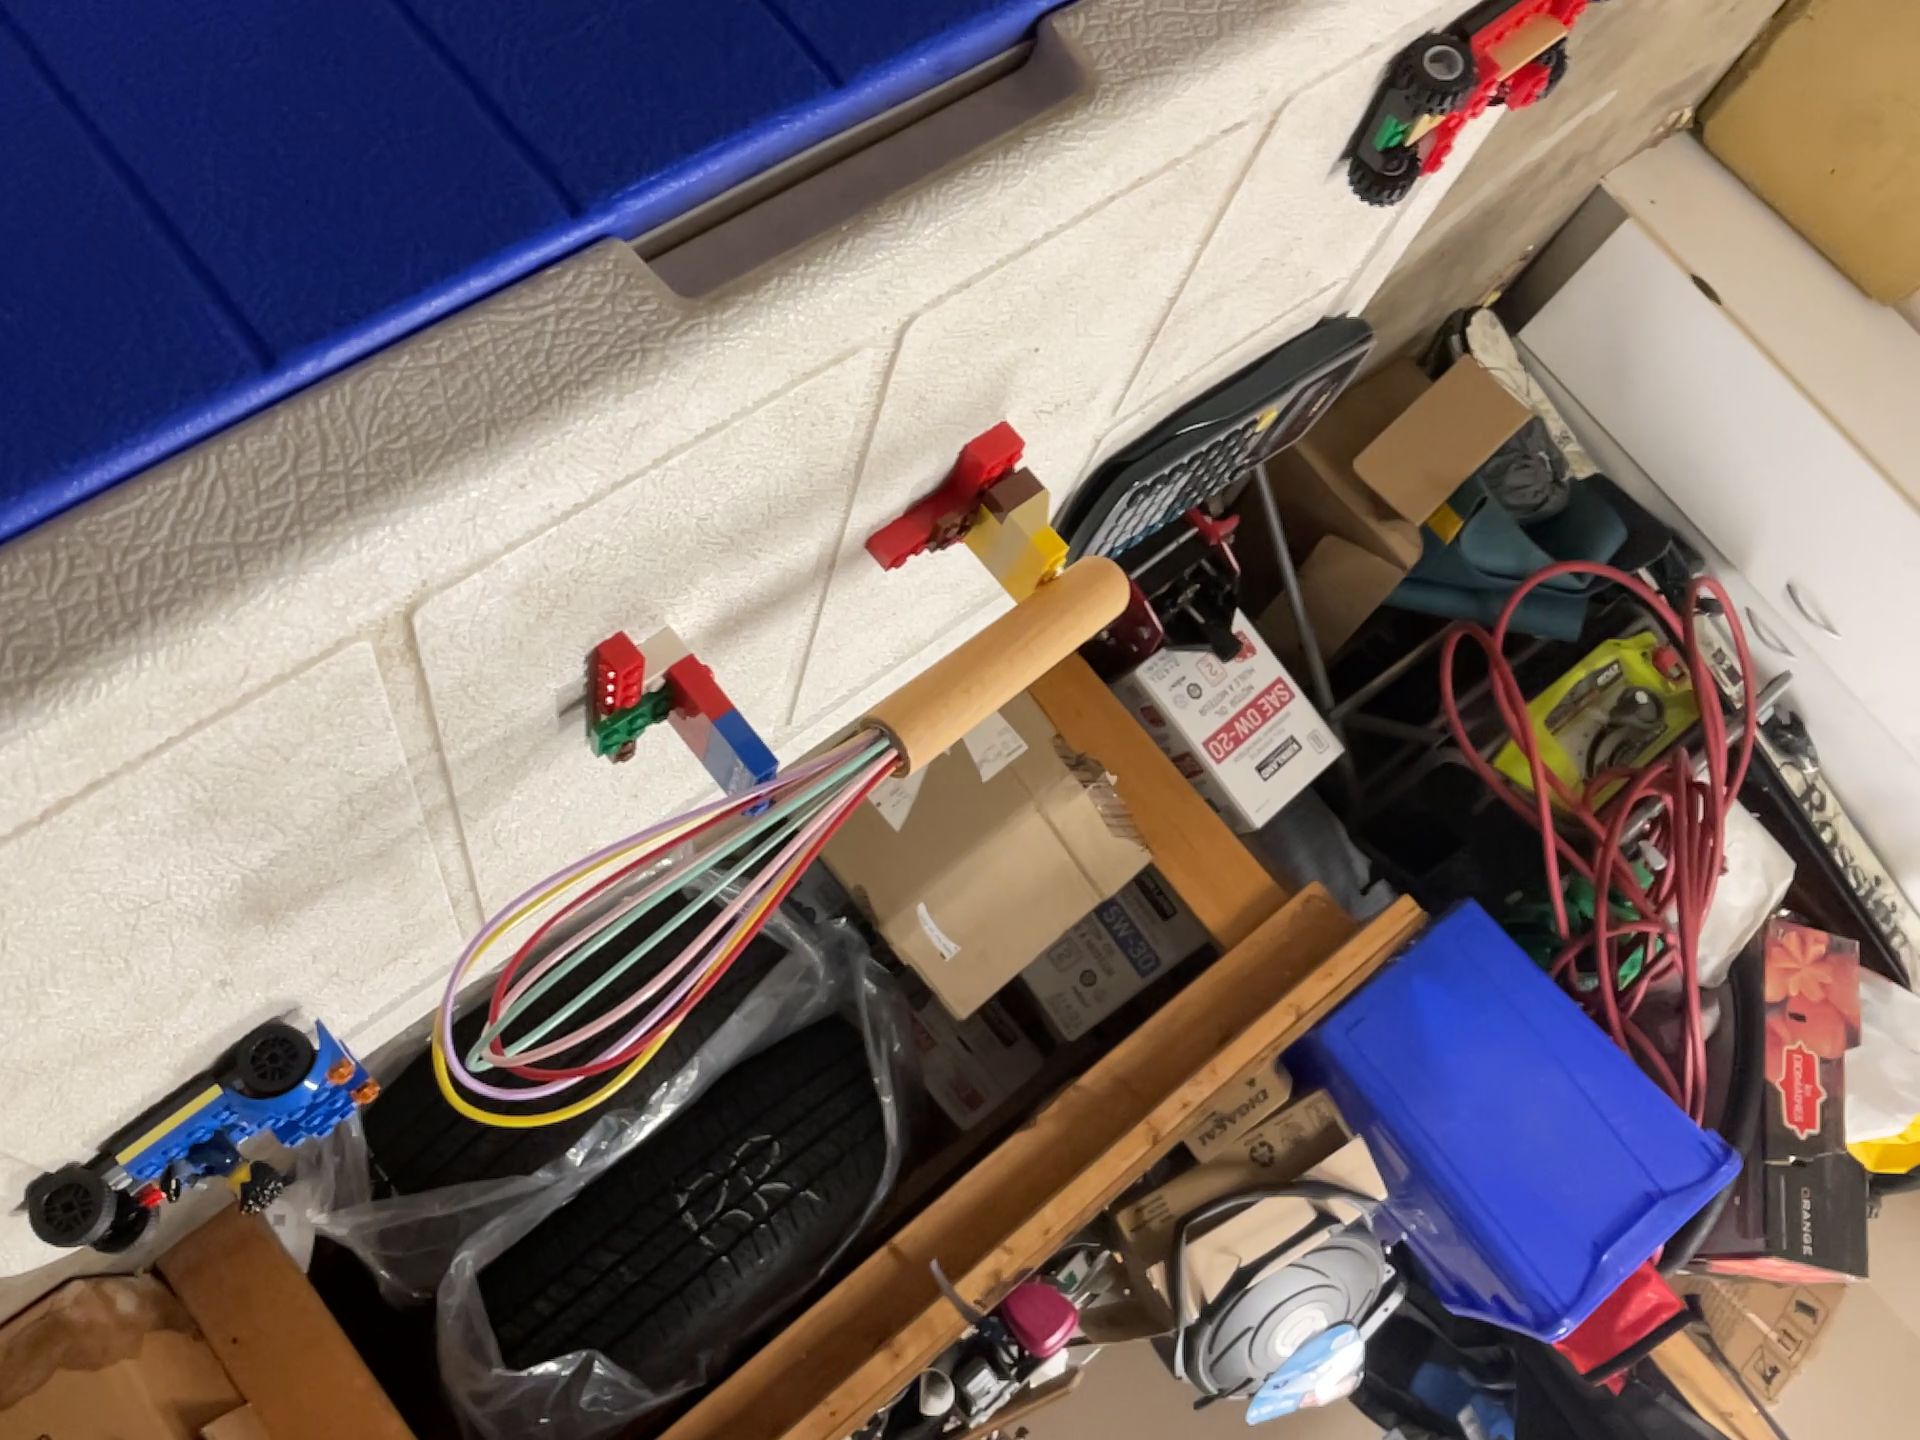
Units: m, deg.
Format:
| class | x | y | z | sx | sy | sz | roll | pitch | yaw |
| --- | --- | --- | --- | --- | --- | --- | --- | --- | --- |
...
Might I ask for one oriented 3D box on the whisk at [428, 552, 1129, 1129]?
| class | x | y | z | sx | sy | sz | roll | pitch | yaw |
| --- | --- | --- | --- | --- | --- | --- | --- | --- | --- |
| whisk | -0.035 | 0.023 | 0.431 | 0.245 | 0.047 | 0.051 | -38 | 158 | -31 |
